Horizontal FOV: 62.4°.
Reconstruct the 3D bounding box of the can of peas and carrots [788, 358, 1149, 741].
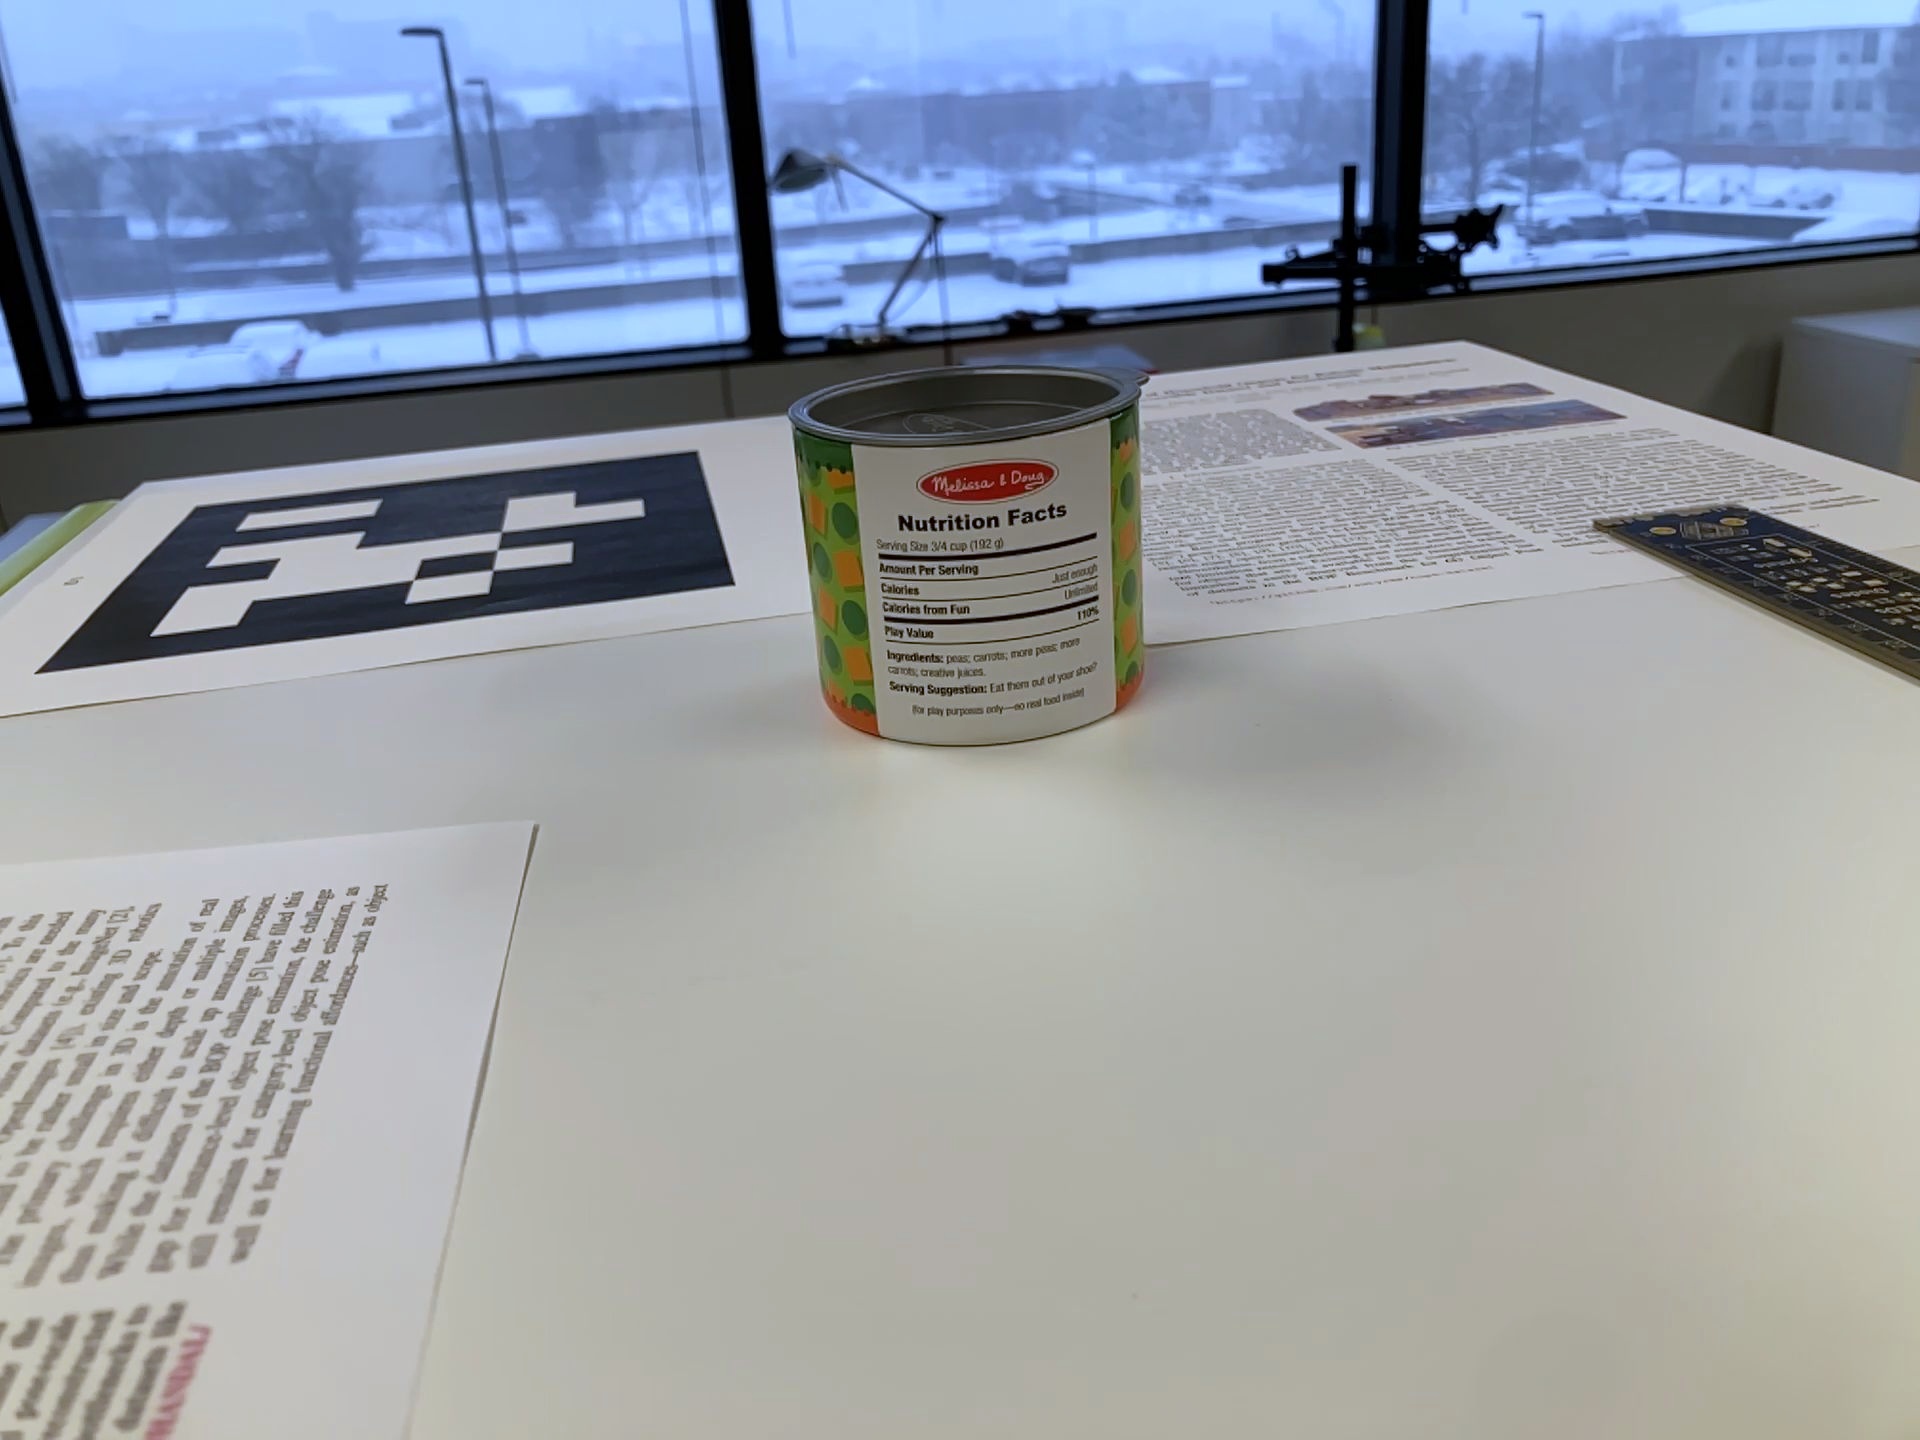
[{"bbox_3d":[0.003,-0.035,0.308,0.071,0.059,0.071,-4,21,1],"label":"can of peas and carrots"}]
